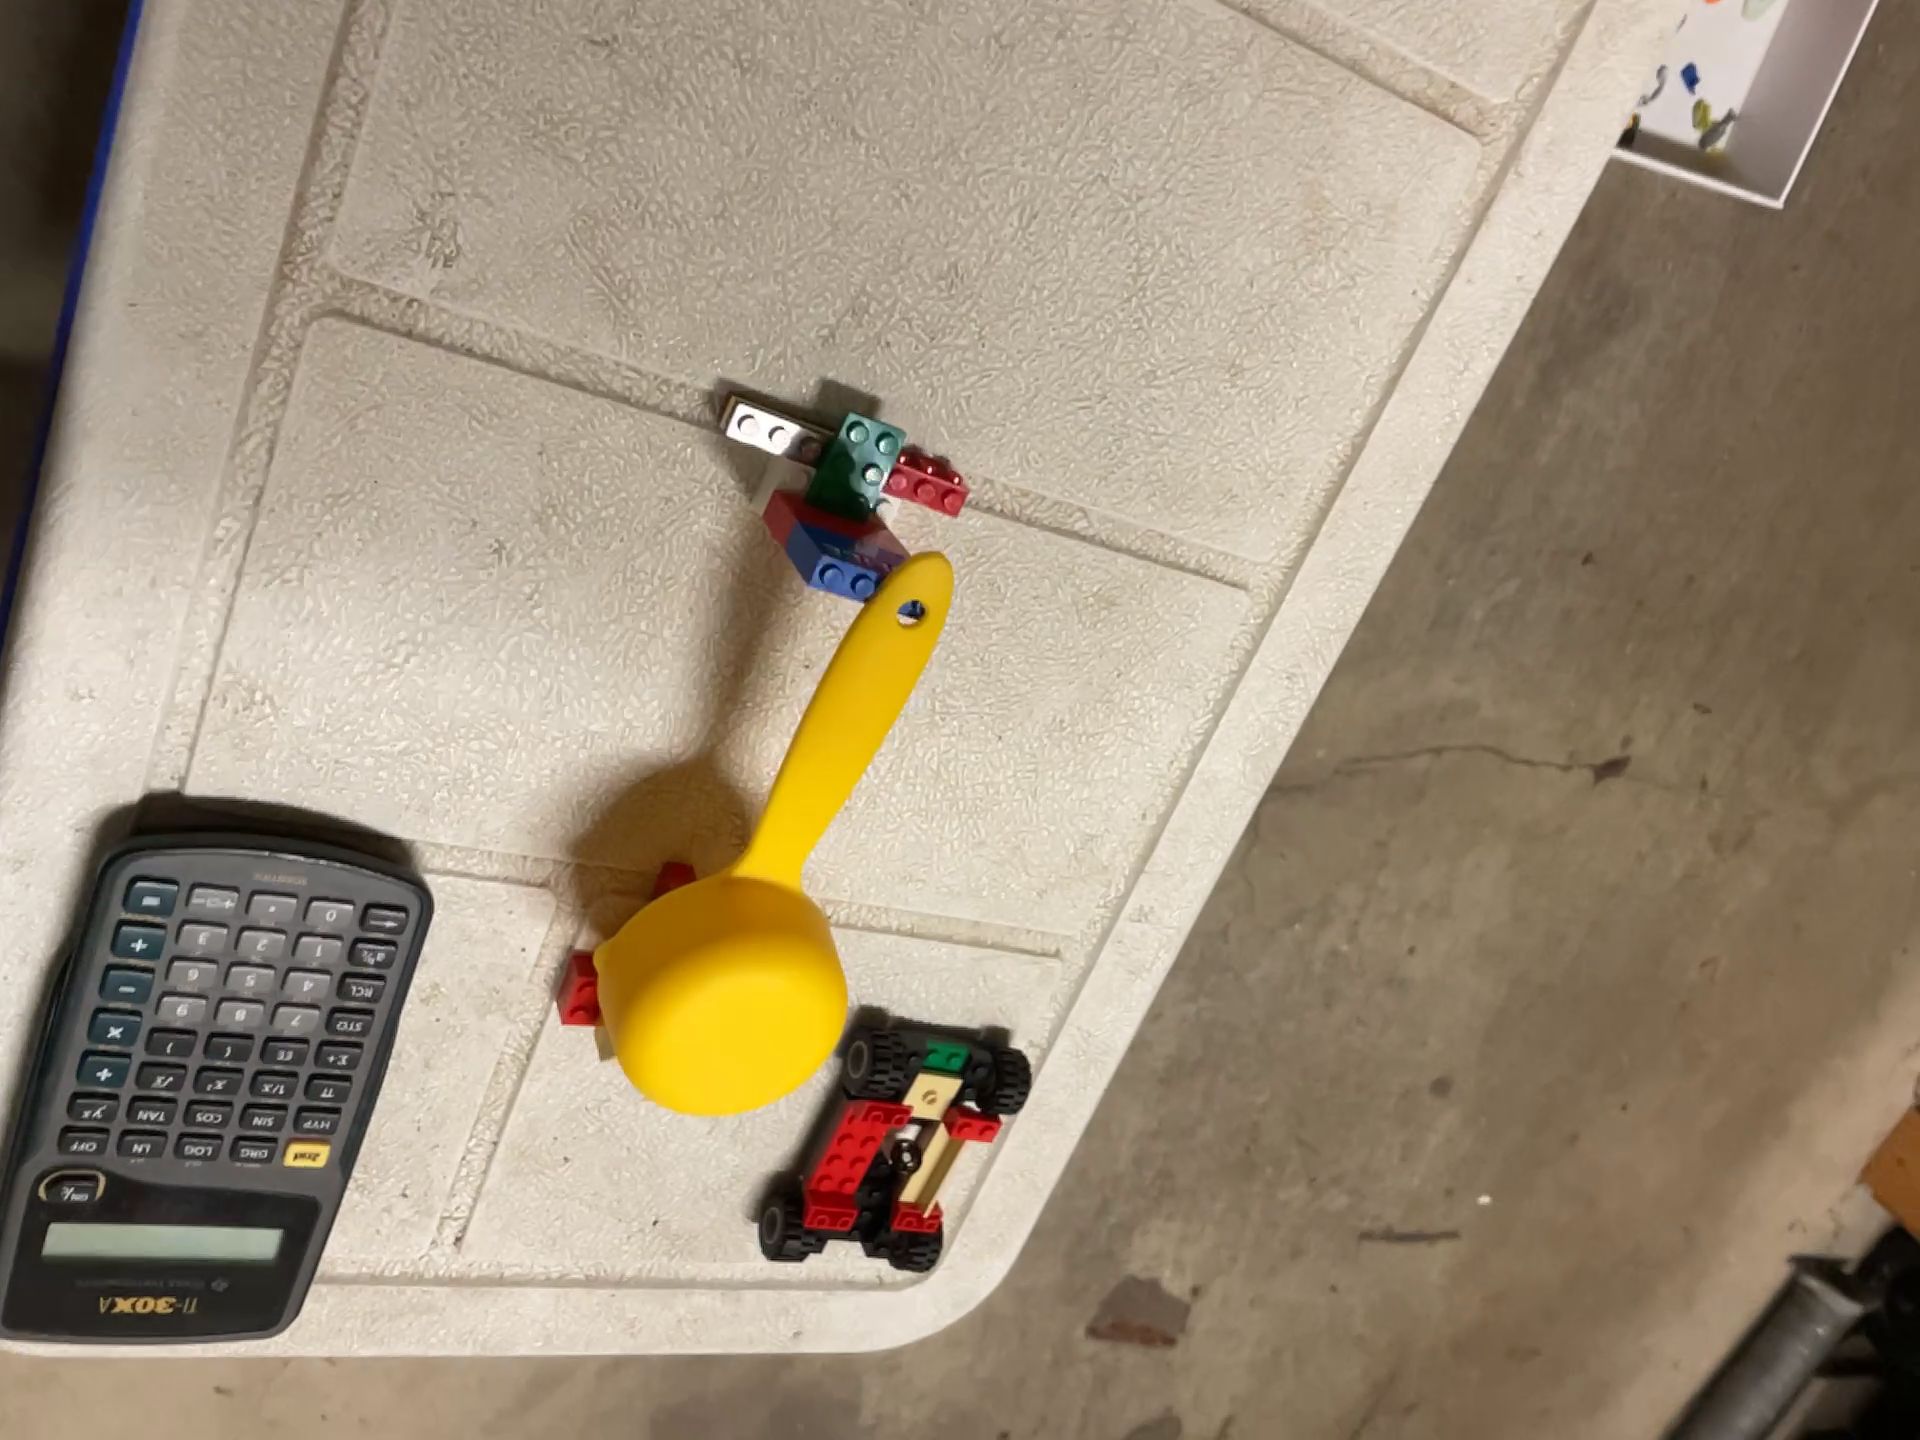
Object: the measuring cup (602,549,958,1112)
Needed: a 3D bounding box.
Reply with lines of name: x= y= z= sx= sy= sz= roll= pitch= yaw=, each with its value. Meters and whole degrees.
measuring cup: x=-0.035 y=0.032 z=0.376 sx=0.062 sy=0.029 sz=0.156 roll=14 pitch=118 yaw=-30
